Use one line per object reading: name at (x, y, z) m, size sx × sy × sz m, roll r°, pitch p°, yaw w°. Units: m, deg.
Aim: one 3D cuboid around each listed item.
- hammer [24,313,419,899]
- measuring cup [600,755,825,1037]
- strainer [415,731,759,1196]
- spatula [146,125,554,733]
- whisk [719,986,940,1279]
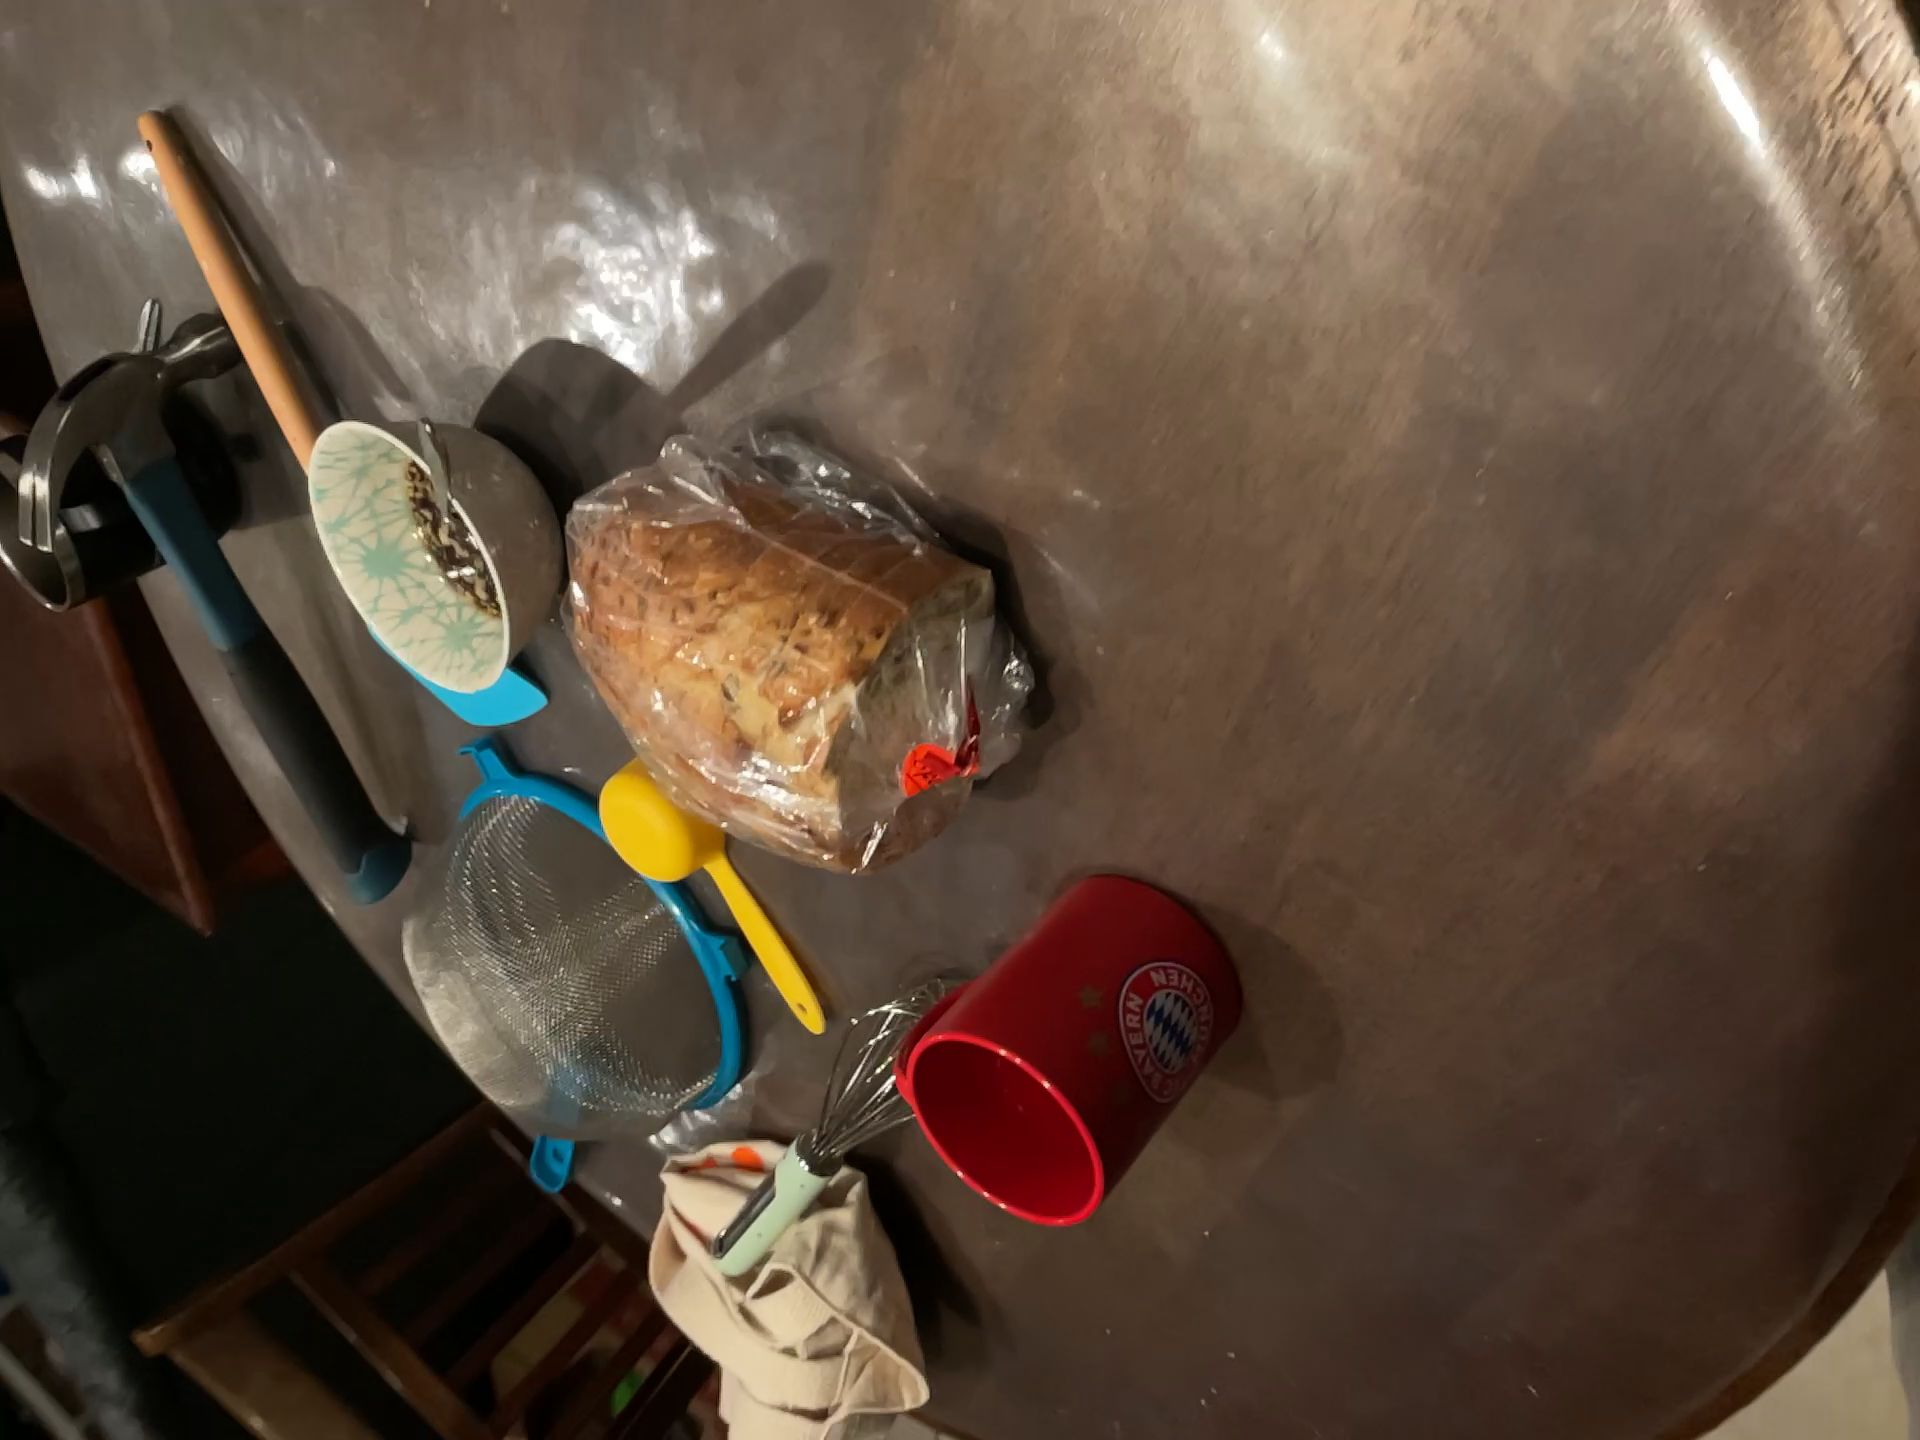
hammer at (-0.370, -0.036, 0.848) m, size 0.033 × 0.128 × 0.330 m, roll 17°, pitch 137°, yaw 37°
measuring cup at (-0.114, 0.088, 0.743) m, size 0.062 × 0.029 × 0.156 m, roll -29°, pitch 95°, yaw 49°
strainer at (-0.233, 0.184, 0.871) m, size 0.211 × 0.095 × 0.340 m, roll 37°, pitch 133°, yaw 18°
spatula at (-0.297, -0.131, 0.763) m, size 0.082 × 0.044 × 0.317 m, roll -14°, pitch 104°, yaw 47°
whisk at (-0.062, 0.198, 0.738) m, size 0.059 × 0.058 × 0.246 m, roll 23°, pitch 130°, yaw -13°
